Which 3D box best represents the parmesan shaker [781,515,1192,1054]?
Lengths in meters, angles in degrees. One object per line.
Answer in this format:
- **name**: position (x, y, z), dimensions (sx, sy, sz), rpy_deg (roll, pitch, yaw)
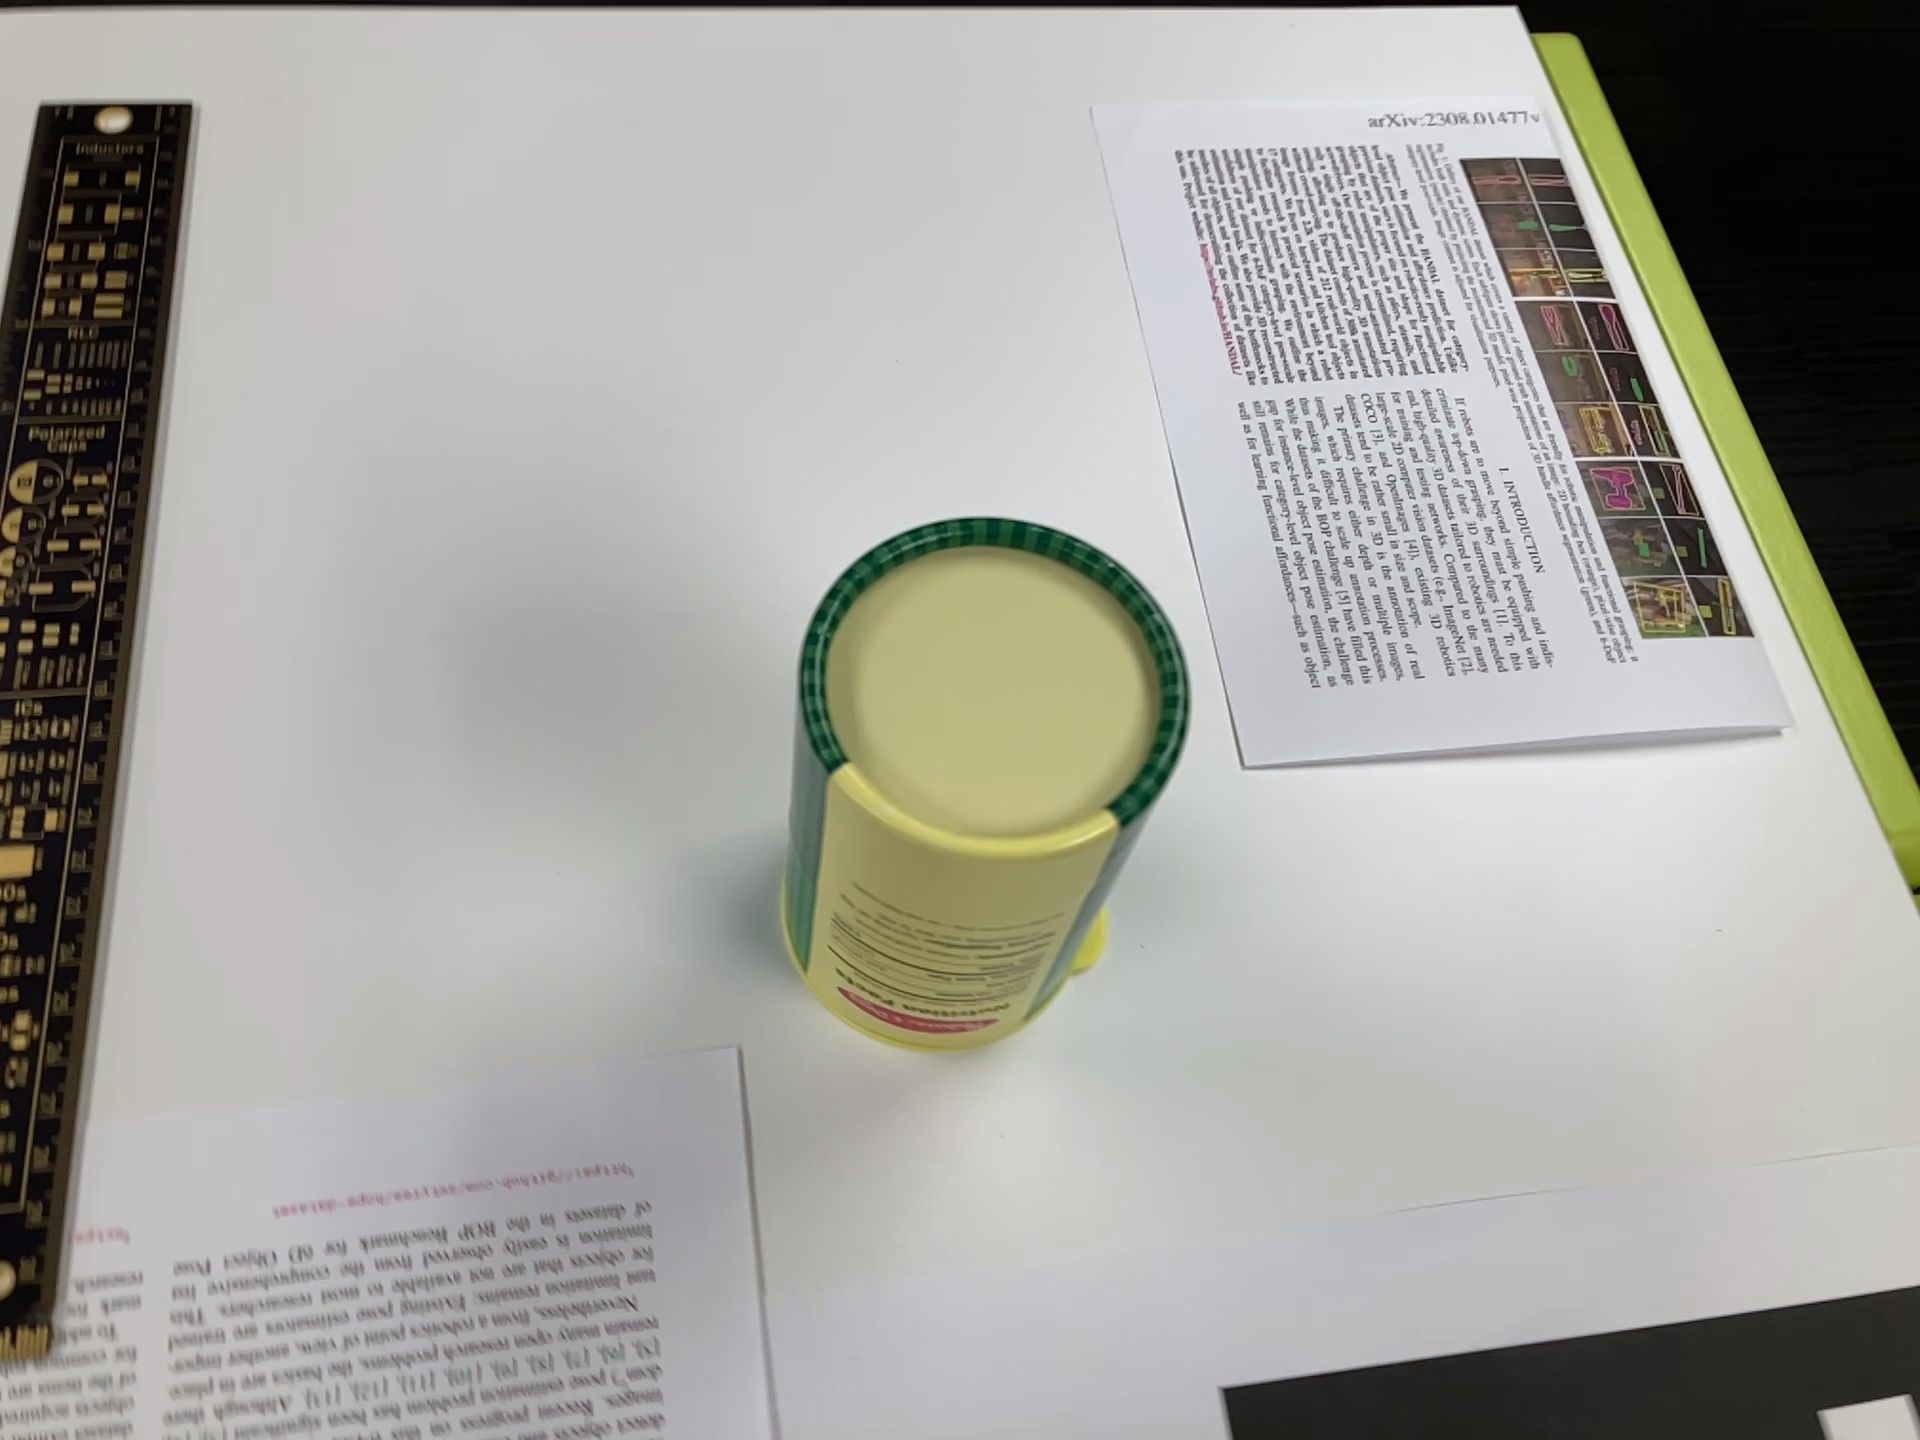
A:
- **parmesan shaker**: position (0.003, 0.016, 0.300), dimensions (0.071, 0.103, 0.071), rpy_deg (3, 62, -6)
